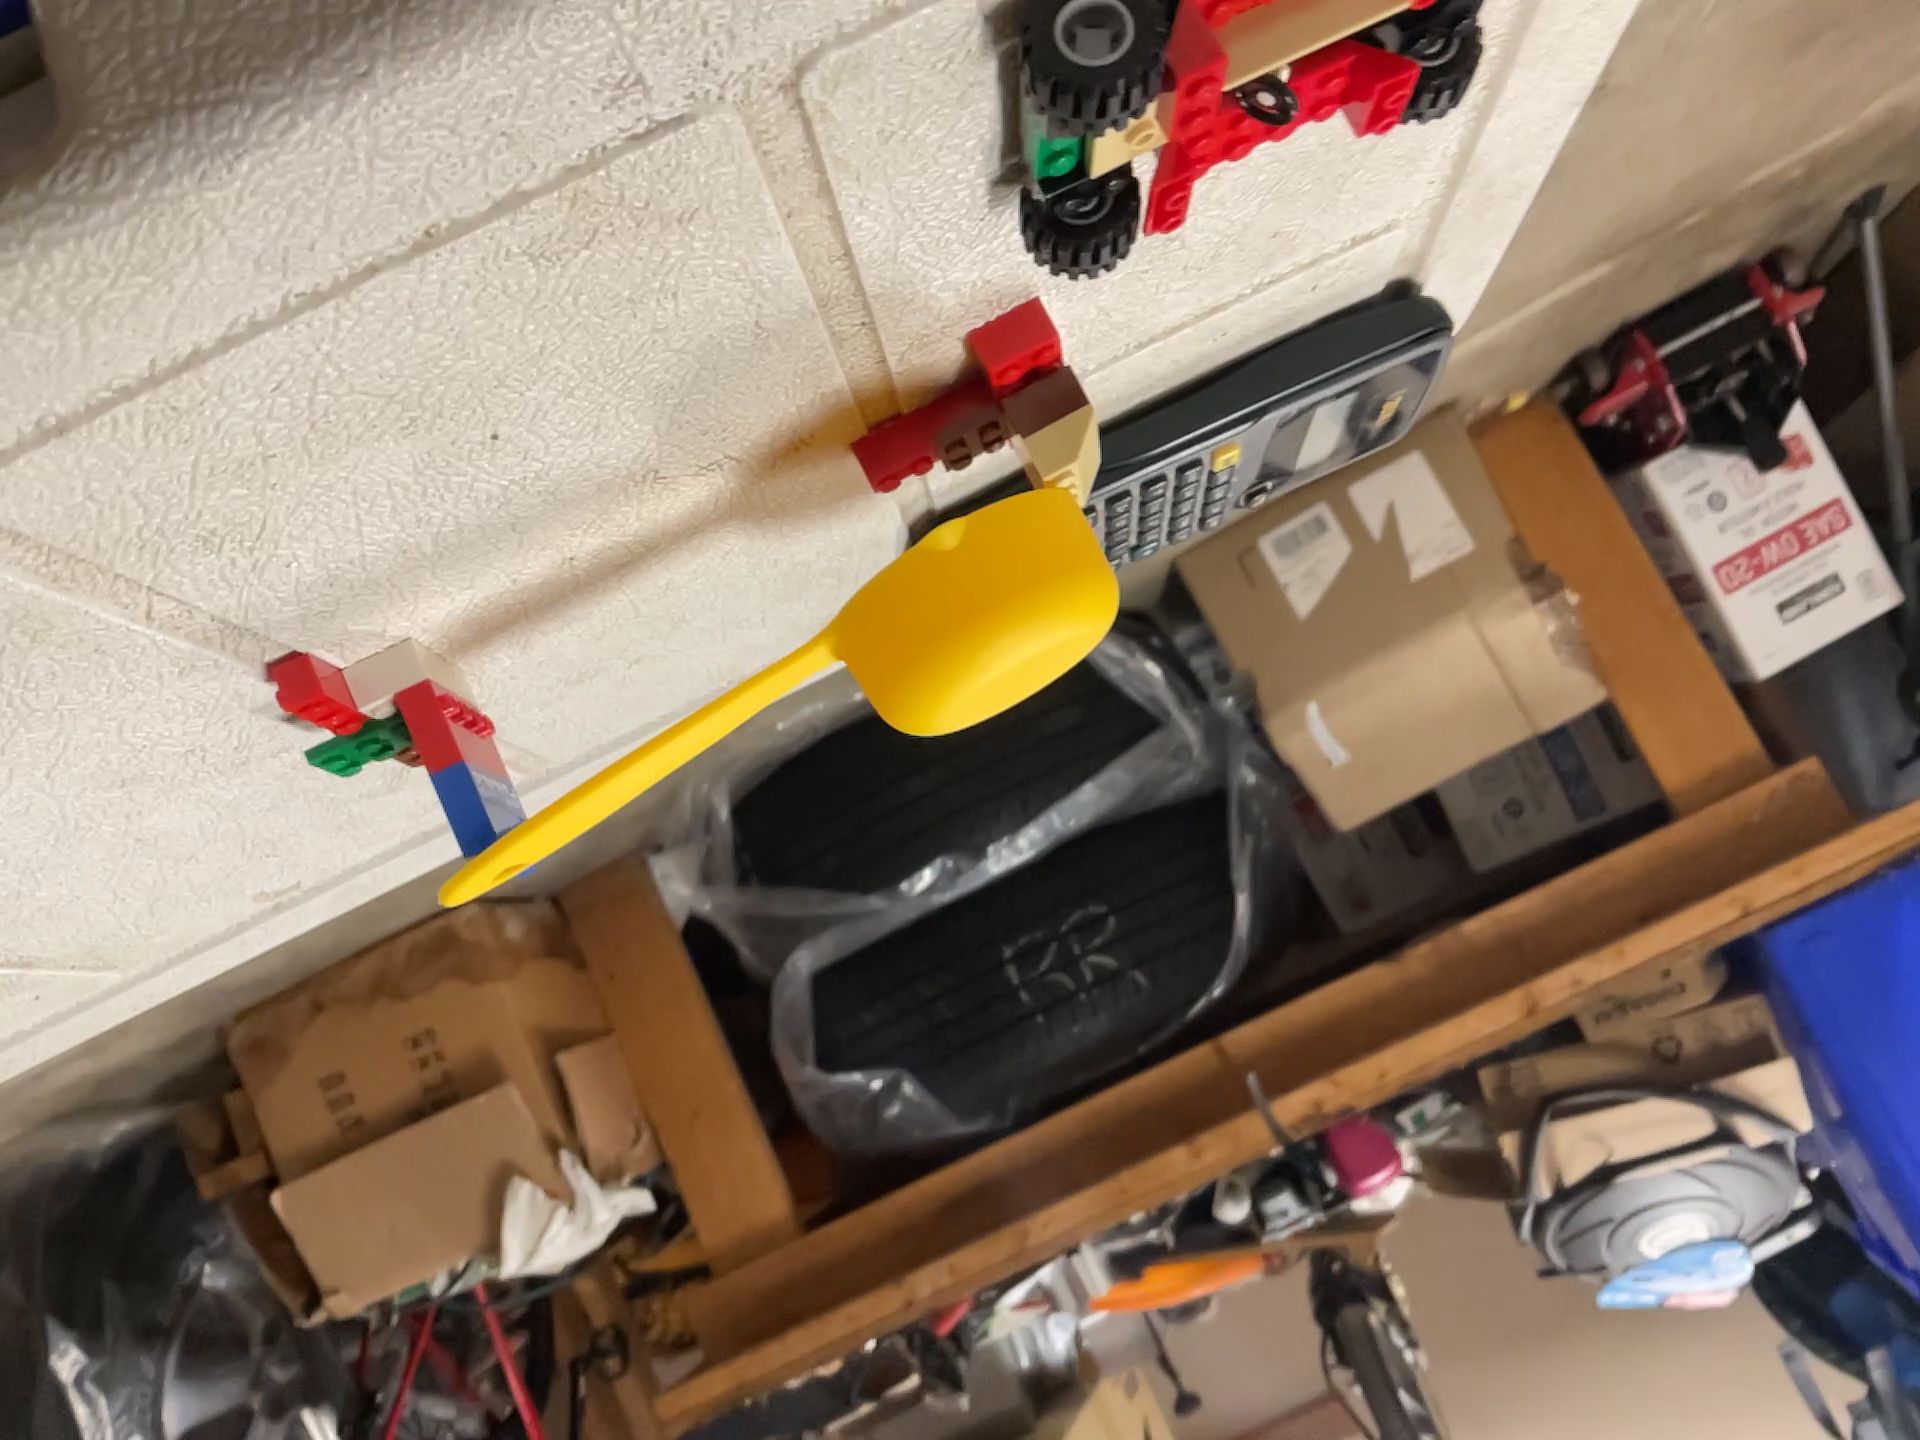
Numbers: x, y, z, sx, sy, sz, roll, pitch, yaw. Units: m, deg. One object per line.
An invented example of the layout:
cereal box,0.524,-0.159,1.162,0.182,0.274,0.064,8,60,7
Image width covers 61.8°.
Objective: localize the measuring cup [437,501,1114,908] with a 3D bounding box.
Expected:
measuring cup,-0.036,0.006,0.337,0.156,0.029,0.062,-32,170,-2
